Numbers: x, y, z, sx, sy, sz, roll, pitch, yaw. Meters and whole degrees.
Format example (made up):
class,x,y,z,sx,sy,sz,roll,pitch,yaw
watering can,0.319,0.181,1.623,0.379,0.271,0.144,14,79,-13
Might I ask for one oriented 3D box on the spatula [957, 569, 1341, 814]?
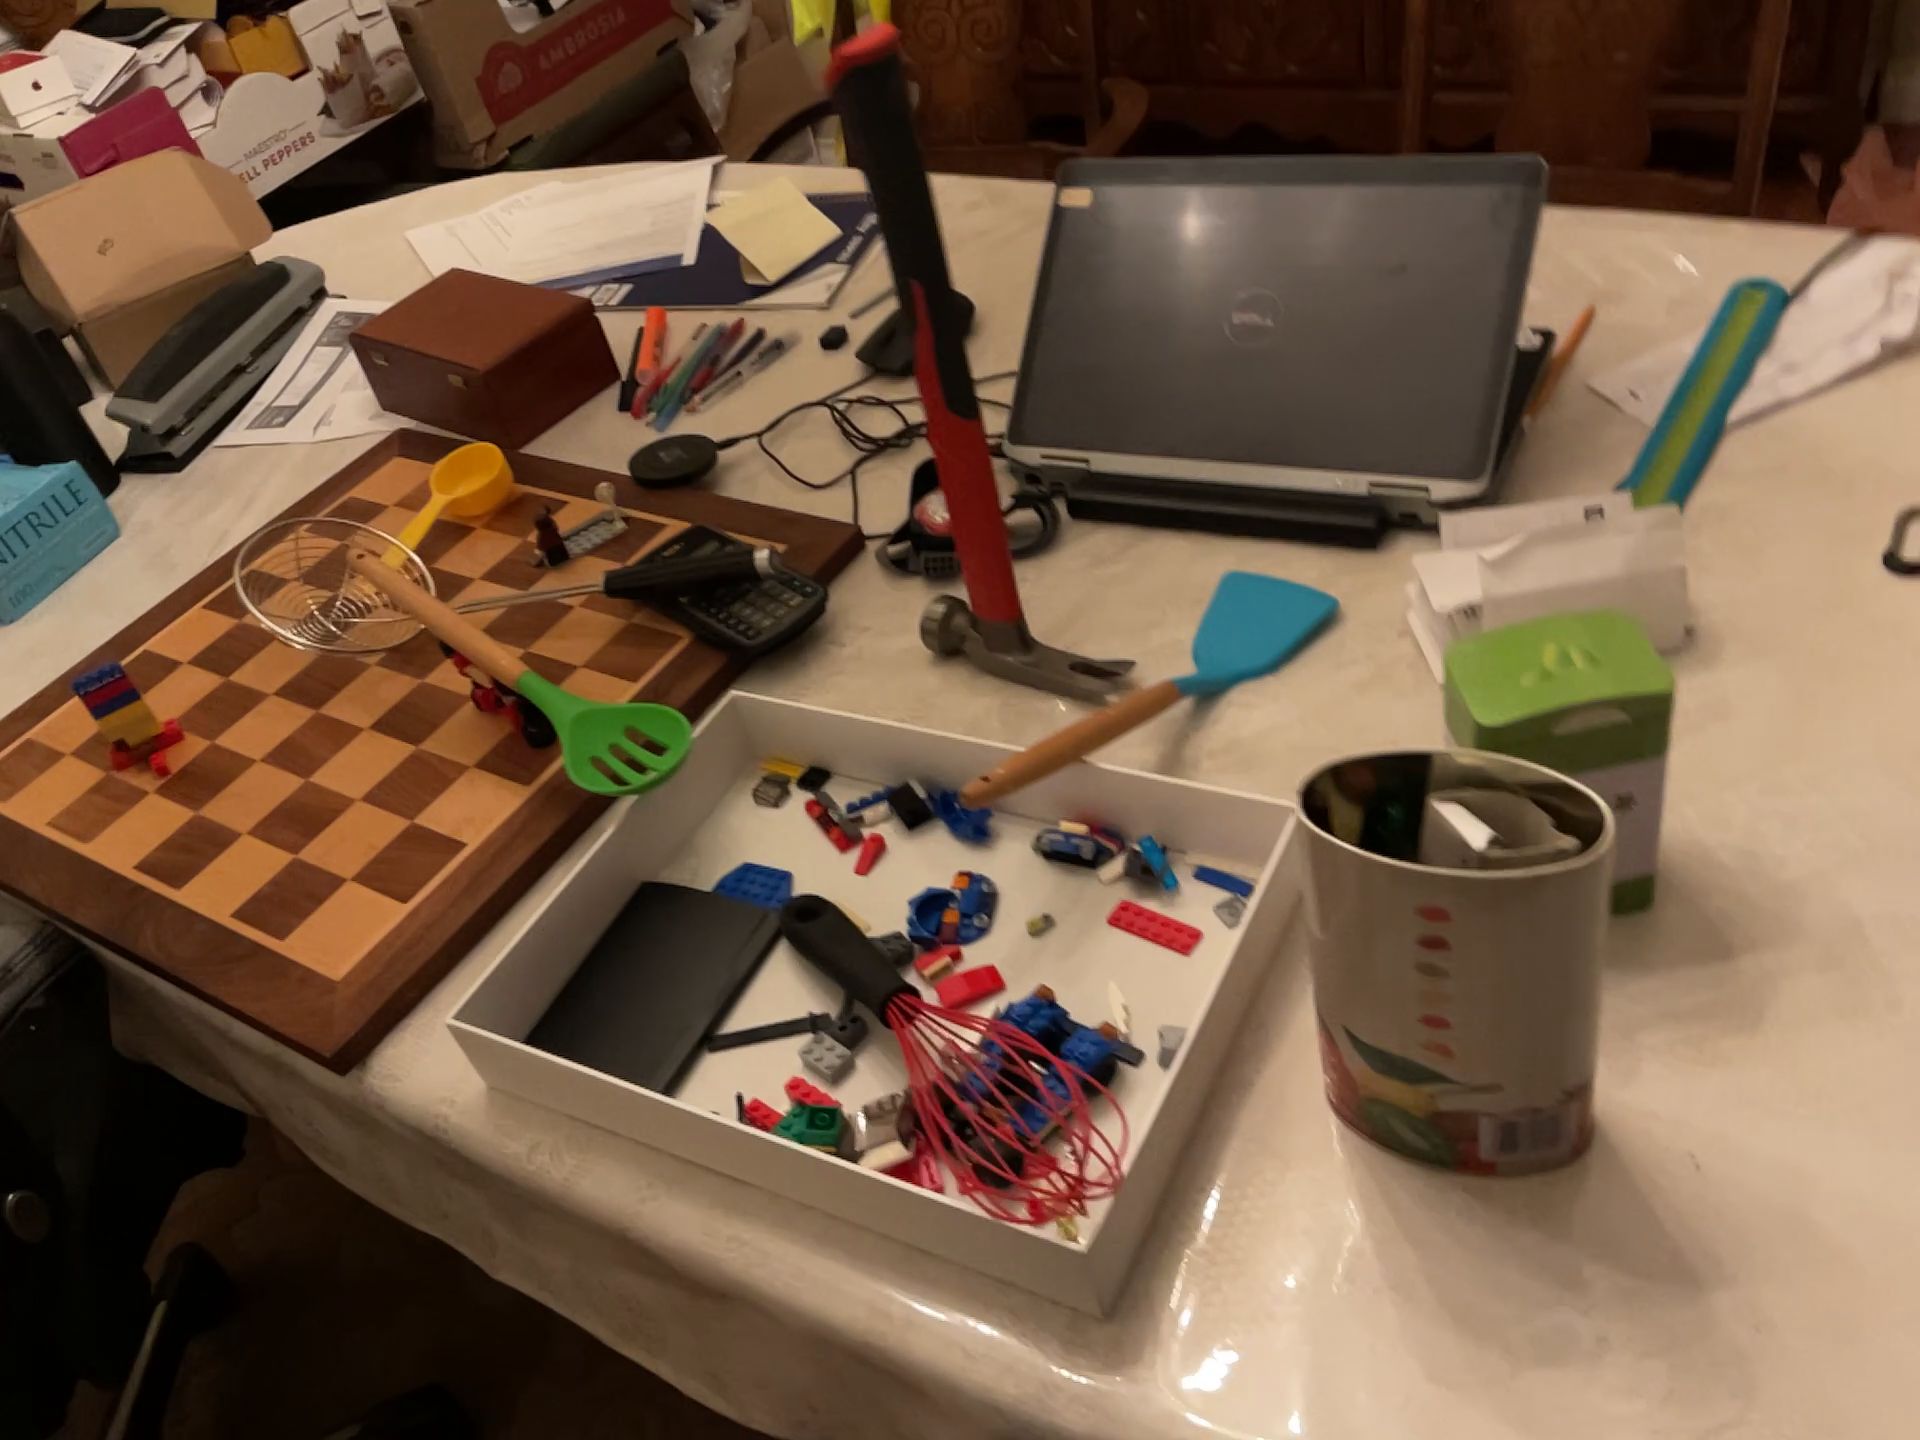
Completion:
class,x,y,z,sx,sy,sz,roll,pitch,yaw
spatula,0.101,-0.017,0.875,0.083,0.044,0.317,21,31,33

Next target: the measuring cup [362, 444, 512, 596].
class,x,y,z,sx,sy,sz,roll,pitch,yaw
measuring cup,-0.397,-0.146,1.208,0.062,0.029,0.156,17,62,28

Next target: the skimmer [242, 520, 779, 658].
class,x,y,z,sx,sy,sz,roll,pitch,yaw
skimmer,-0.302,-0.104,1.062,0.363,0.090,0.127,-6,39,17

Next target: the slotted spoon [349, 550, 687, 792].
class,x,y,z,sx,sy,sz,roll,pitch,yaw
slotted spoon,-0.275,-0.036,0.955,0.314,0.031,0.070,31,59,30

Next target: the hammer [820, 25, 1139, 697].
class,x,y,z,sx,sy,sz,roll,pitch,yaw
hammer,0.006,-0.174,0.863,0.143,0.386,0.038,17,49,33

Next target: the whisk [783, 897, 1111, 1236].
class,x,y,z,sx,sy,sz,roll,pitch,yaw
whisk,-0.018,0.143,0.734,0.073,0.073,0.296,-12,22,-25
